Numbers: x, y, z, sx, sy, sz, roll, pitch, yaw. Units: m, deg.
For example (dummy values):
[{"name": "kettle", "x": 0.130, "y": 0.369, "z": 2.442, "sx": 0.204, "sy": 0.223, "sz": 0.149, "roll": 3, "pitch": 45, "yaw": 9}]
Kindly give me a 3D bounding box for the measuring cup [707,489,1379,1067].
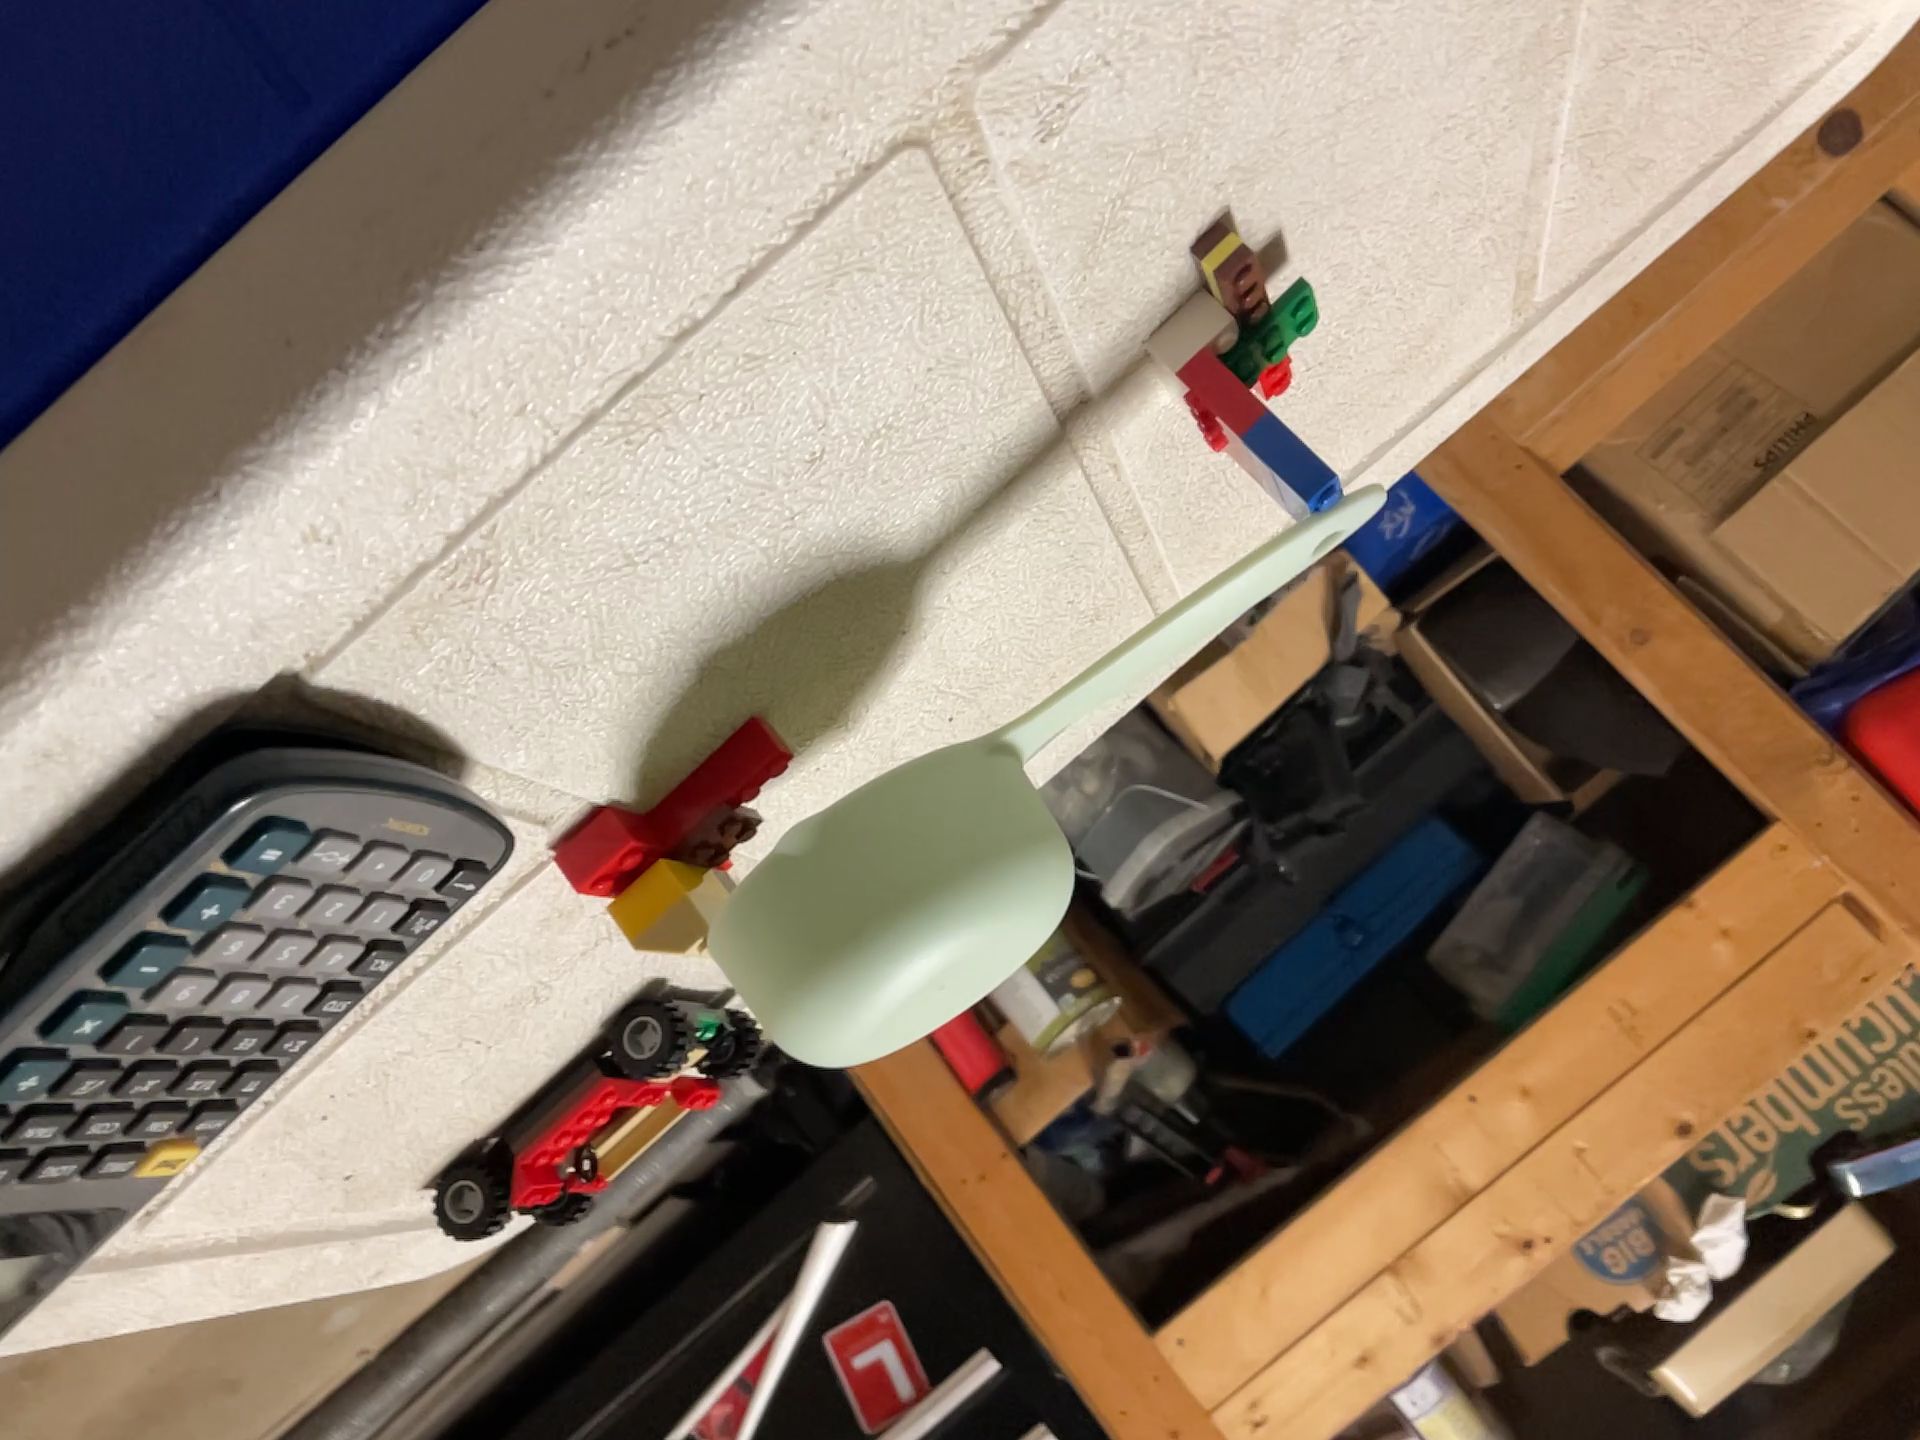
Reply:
[{"name": "measuring cup", "x": 0.025, "y": 0.015, "z": 0.330, "sx": 0.167, "sy": 0.038, "sz": 0.083, "roll": -36, "pitch": 161, "yaw": 7}]
